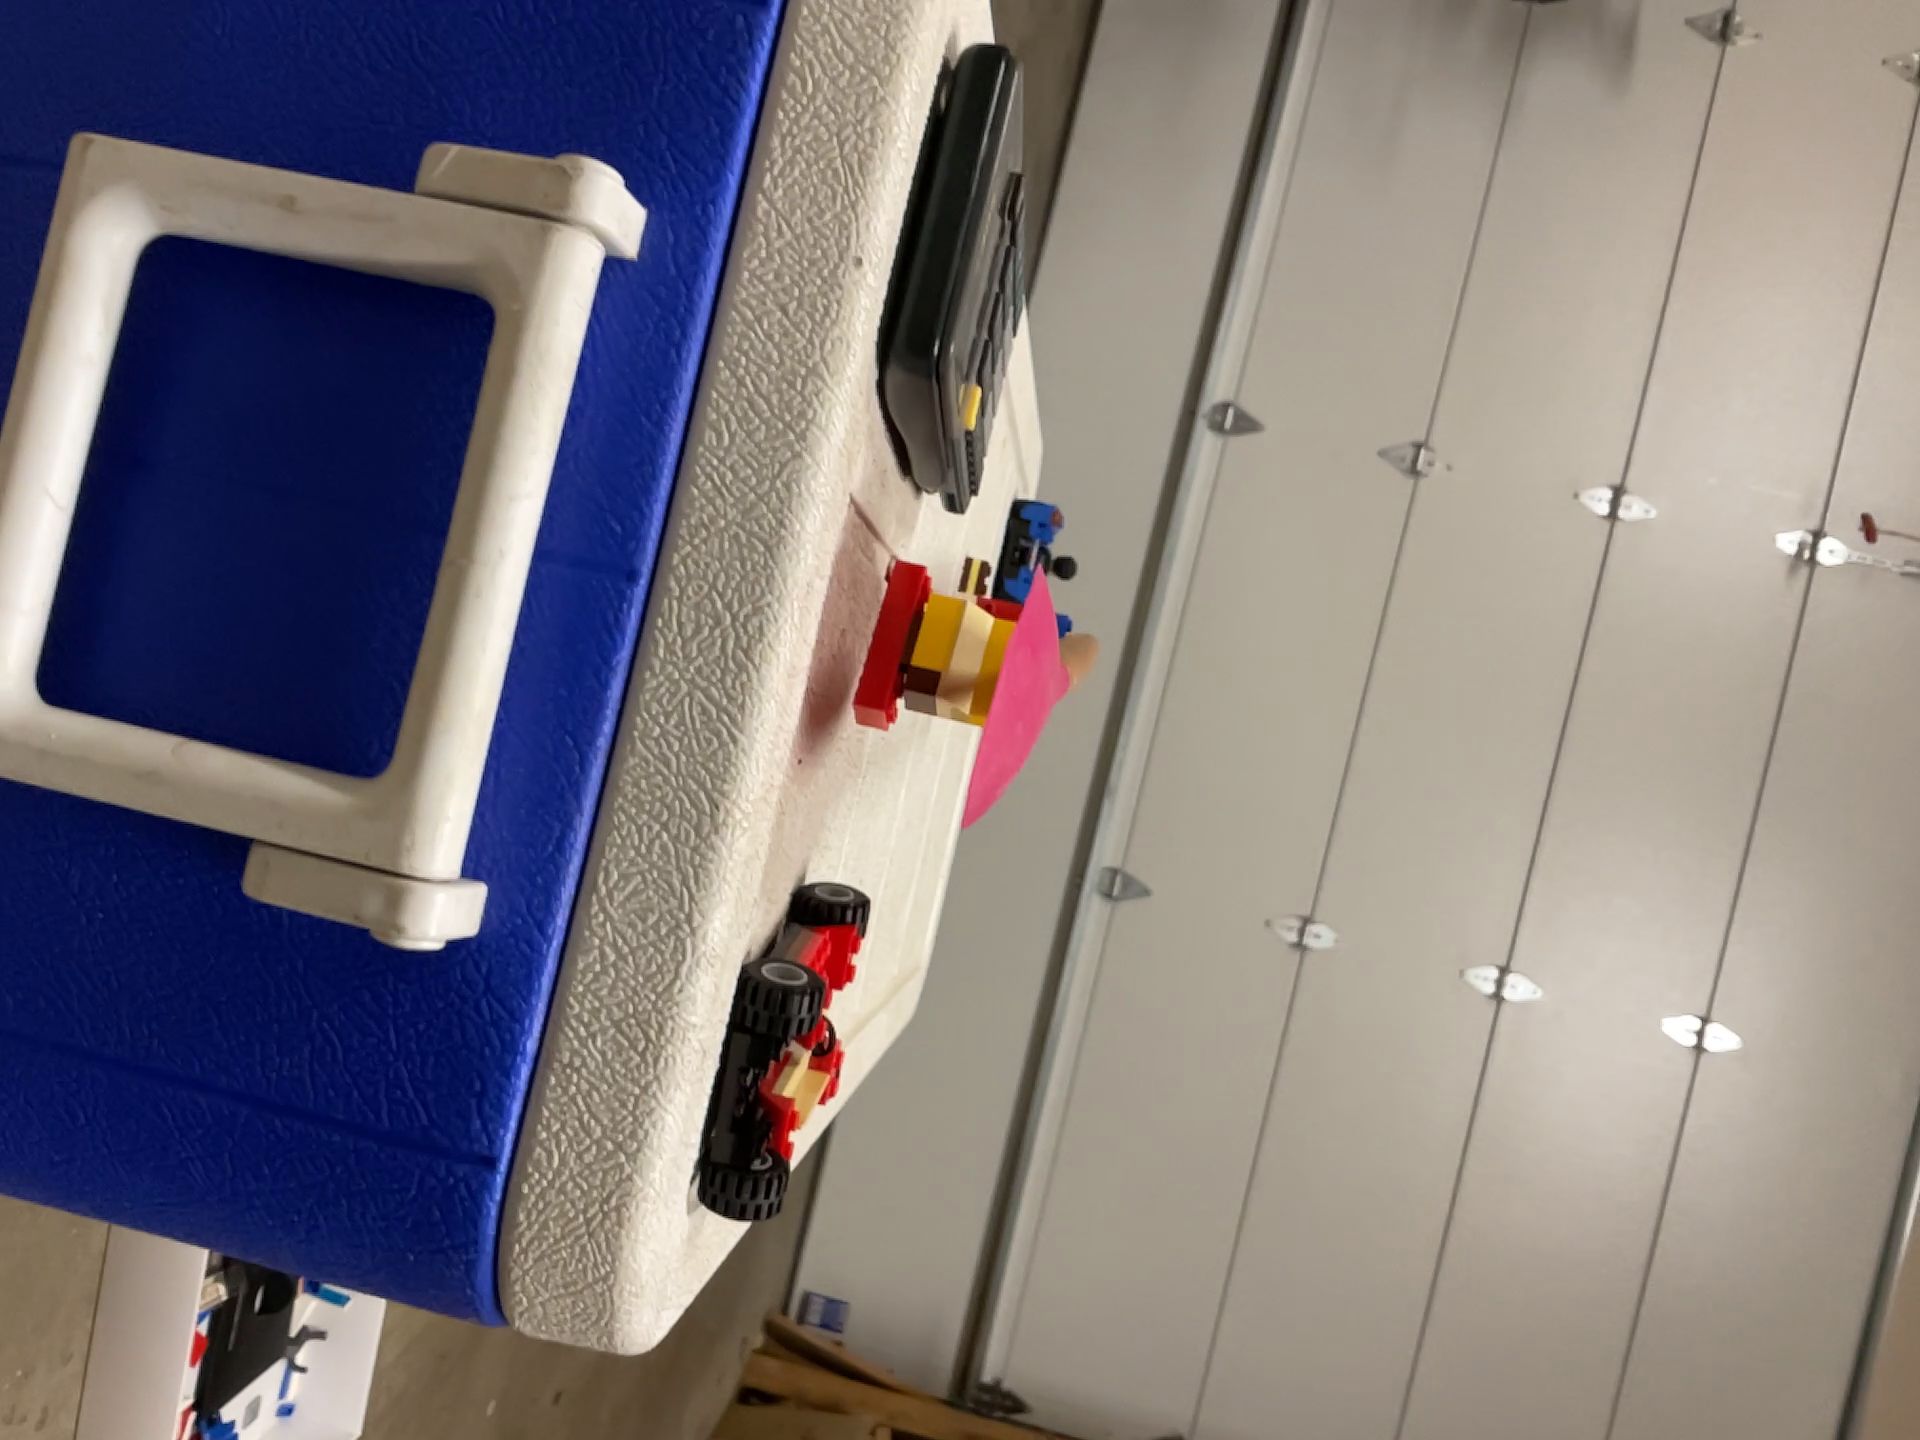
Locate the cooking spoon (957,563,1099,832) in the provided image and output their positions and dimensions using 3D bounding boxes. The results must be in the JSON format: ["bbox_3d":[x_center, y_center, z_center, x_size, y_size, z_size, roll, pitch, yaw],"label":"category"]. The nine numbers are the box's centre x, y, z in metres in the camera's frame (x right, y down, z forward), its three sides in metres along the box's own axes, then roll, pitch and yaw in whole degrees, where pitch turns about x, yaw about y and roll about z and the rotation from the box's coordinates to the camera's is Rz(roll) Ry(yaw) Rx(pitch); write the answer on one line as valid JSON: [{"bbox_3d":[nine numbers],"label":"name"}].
[{"bbox_3d":[0.029,-0.015,0.505,0.319,0.017,0.068,-35,142,-81],"label":"cooking spoon"}]
